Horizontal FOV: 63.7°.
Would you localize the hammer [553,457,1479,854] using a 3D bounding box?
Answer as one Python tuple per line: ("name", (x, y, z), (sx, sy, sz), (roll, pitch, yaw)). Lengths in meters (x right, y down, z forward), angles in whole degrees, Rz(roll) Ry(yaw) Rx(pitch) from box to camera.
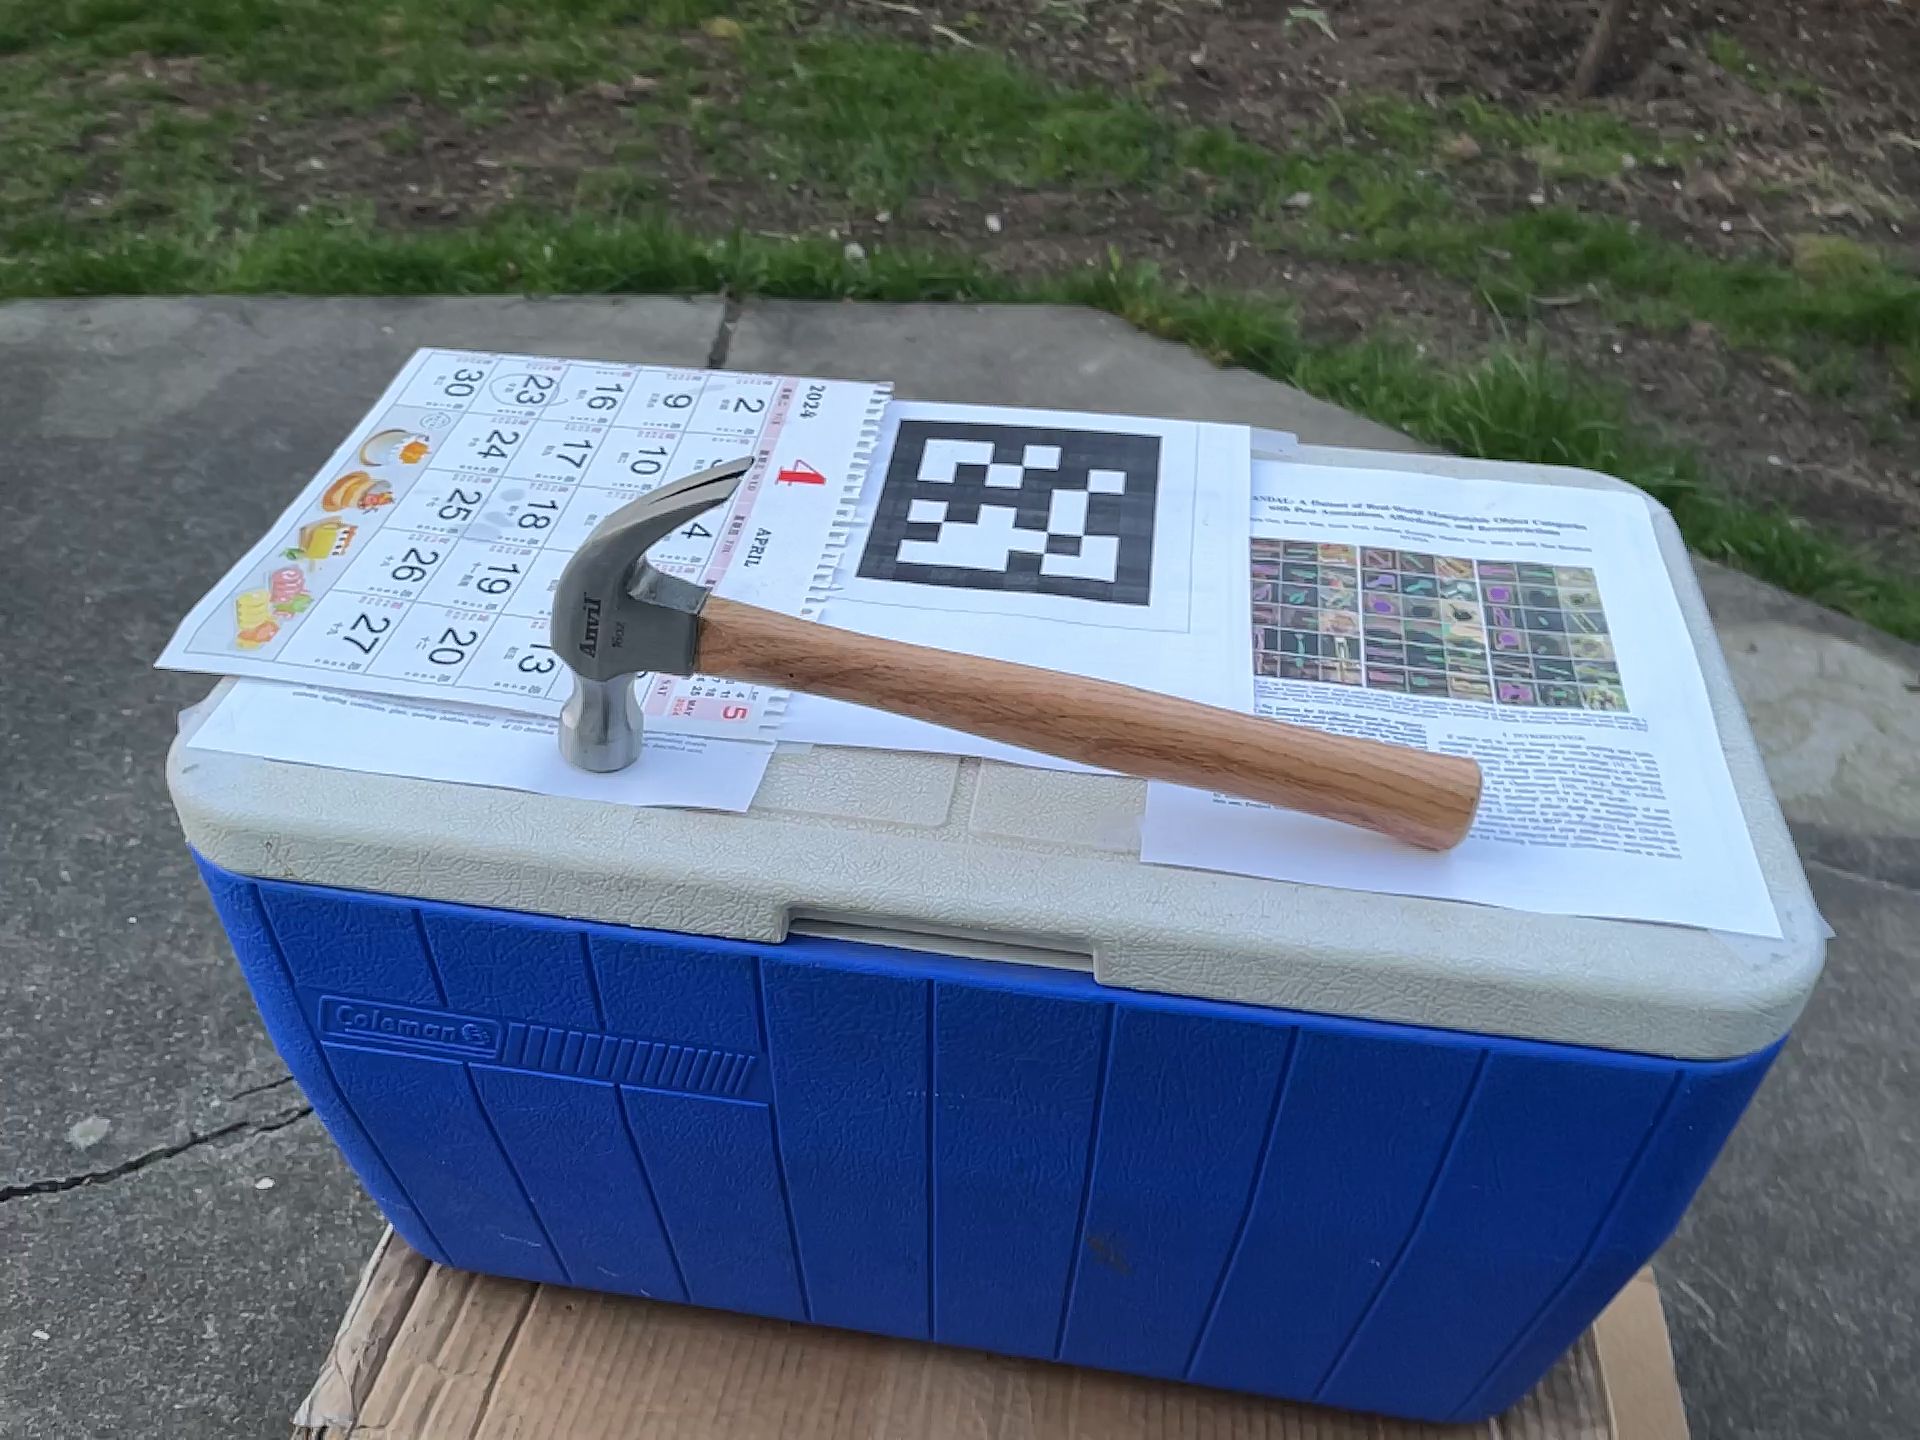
("hammer", (0.020, -0.007, 0.551), (0.331, 0.130, 0.031), (13, 36, 0))
